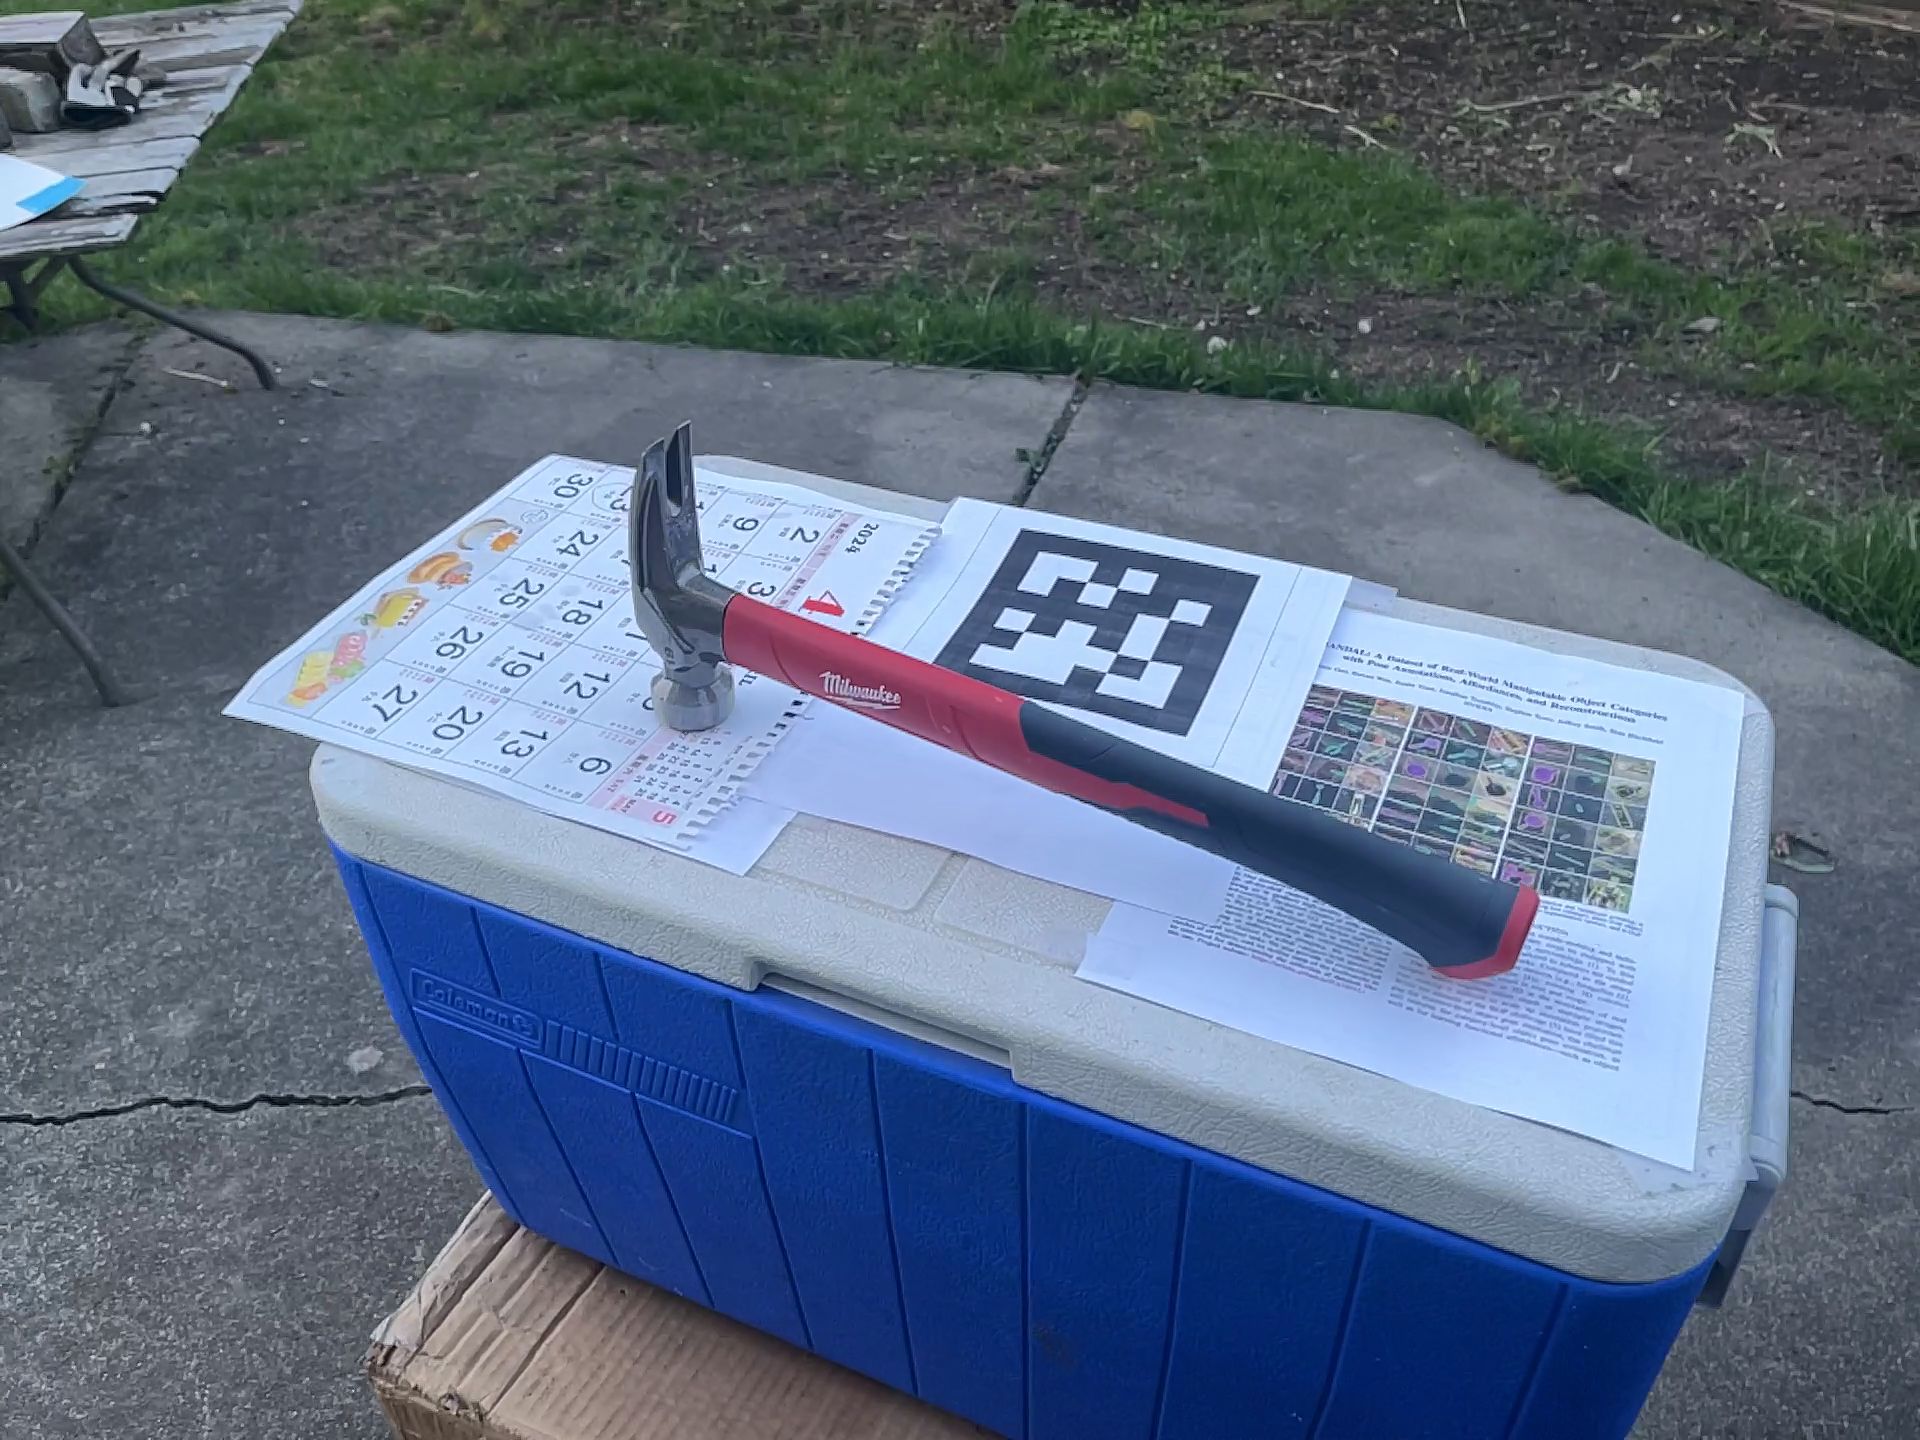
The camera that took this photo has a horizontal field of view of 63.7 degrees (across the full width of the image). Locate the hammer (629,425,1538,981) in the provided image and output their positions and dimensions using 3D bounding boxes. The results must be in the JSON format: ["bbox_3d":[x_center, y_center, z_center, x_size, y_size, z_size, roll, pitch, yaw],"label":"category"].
[{"bbox_3d":[0.034,0.000,0.611,0.386,0.143,0.038,21,43,20],"label":"hammer"}]
